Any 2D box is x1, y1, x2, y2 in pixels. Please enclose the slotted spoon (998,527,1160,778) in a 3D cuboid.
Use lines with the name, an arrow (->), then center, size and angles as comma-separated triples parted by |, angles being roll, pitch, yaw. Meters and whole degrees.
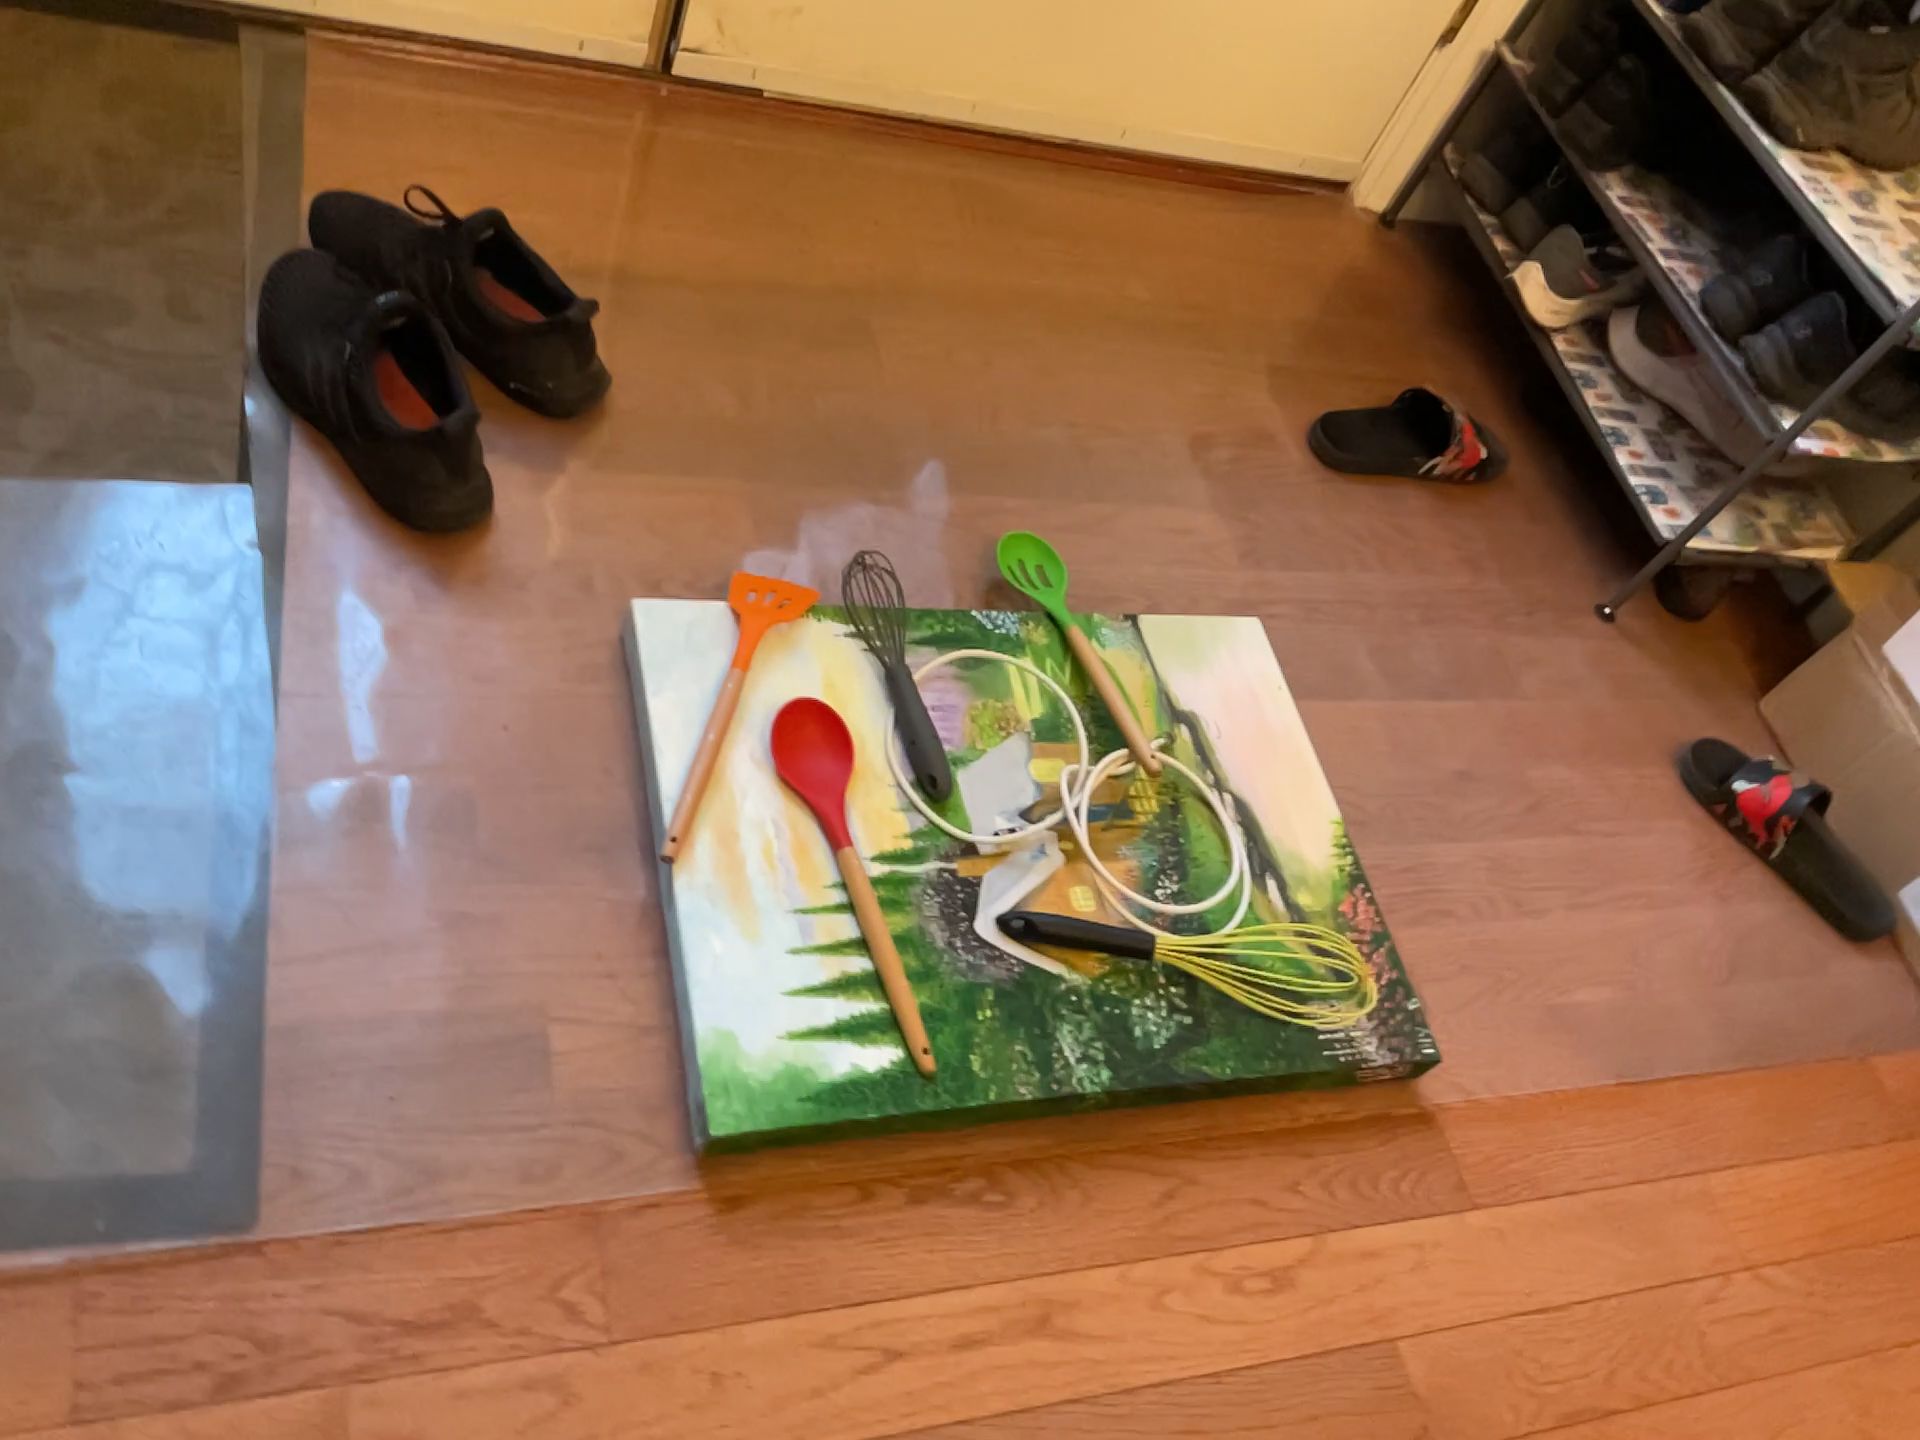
slotted spoon -> 0.107, -0.063, 1.414 | 0.070, 0.031, 0.314 | -2, 44, -26

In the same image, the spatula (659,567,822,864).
spatula -> -0.185, -0.015, 1.268 | 0.081, 0.041, 0.323 | 14, 52, 0

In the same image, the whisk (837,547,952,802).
whisk -> -0.051, -0.040, 1.322 | 0.055, 0.055, 0.239 | -12, 67, -19

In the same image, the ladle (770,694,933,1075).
ladle -> -0.077, 0.120, 1.201 | 0.069, 0.031, 0.316 | -8, 61, -27

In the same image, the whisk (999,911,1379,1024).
whisk -> 0.181, 0.185, 1.253 | 0.311, 0.067, 0.080 | 11, 46, -9
